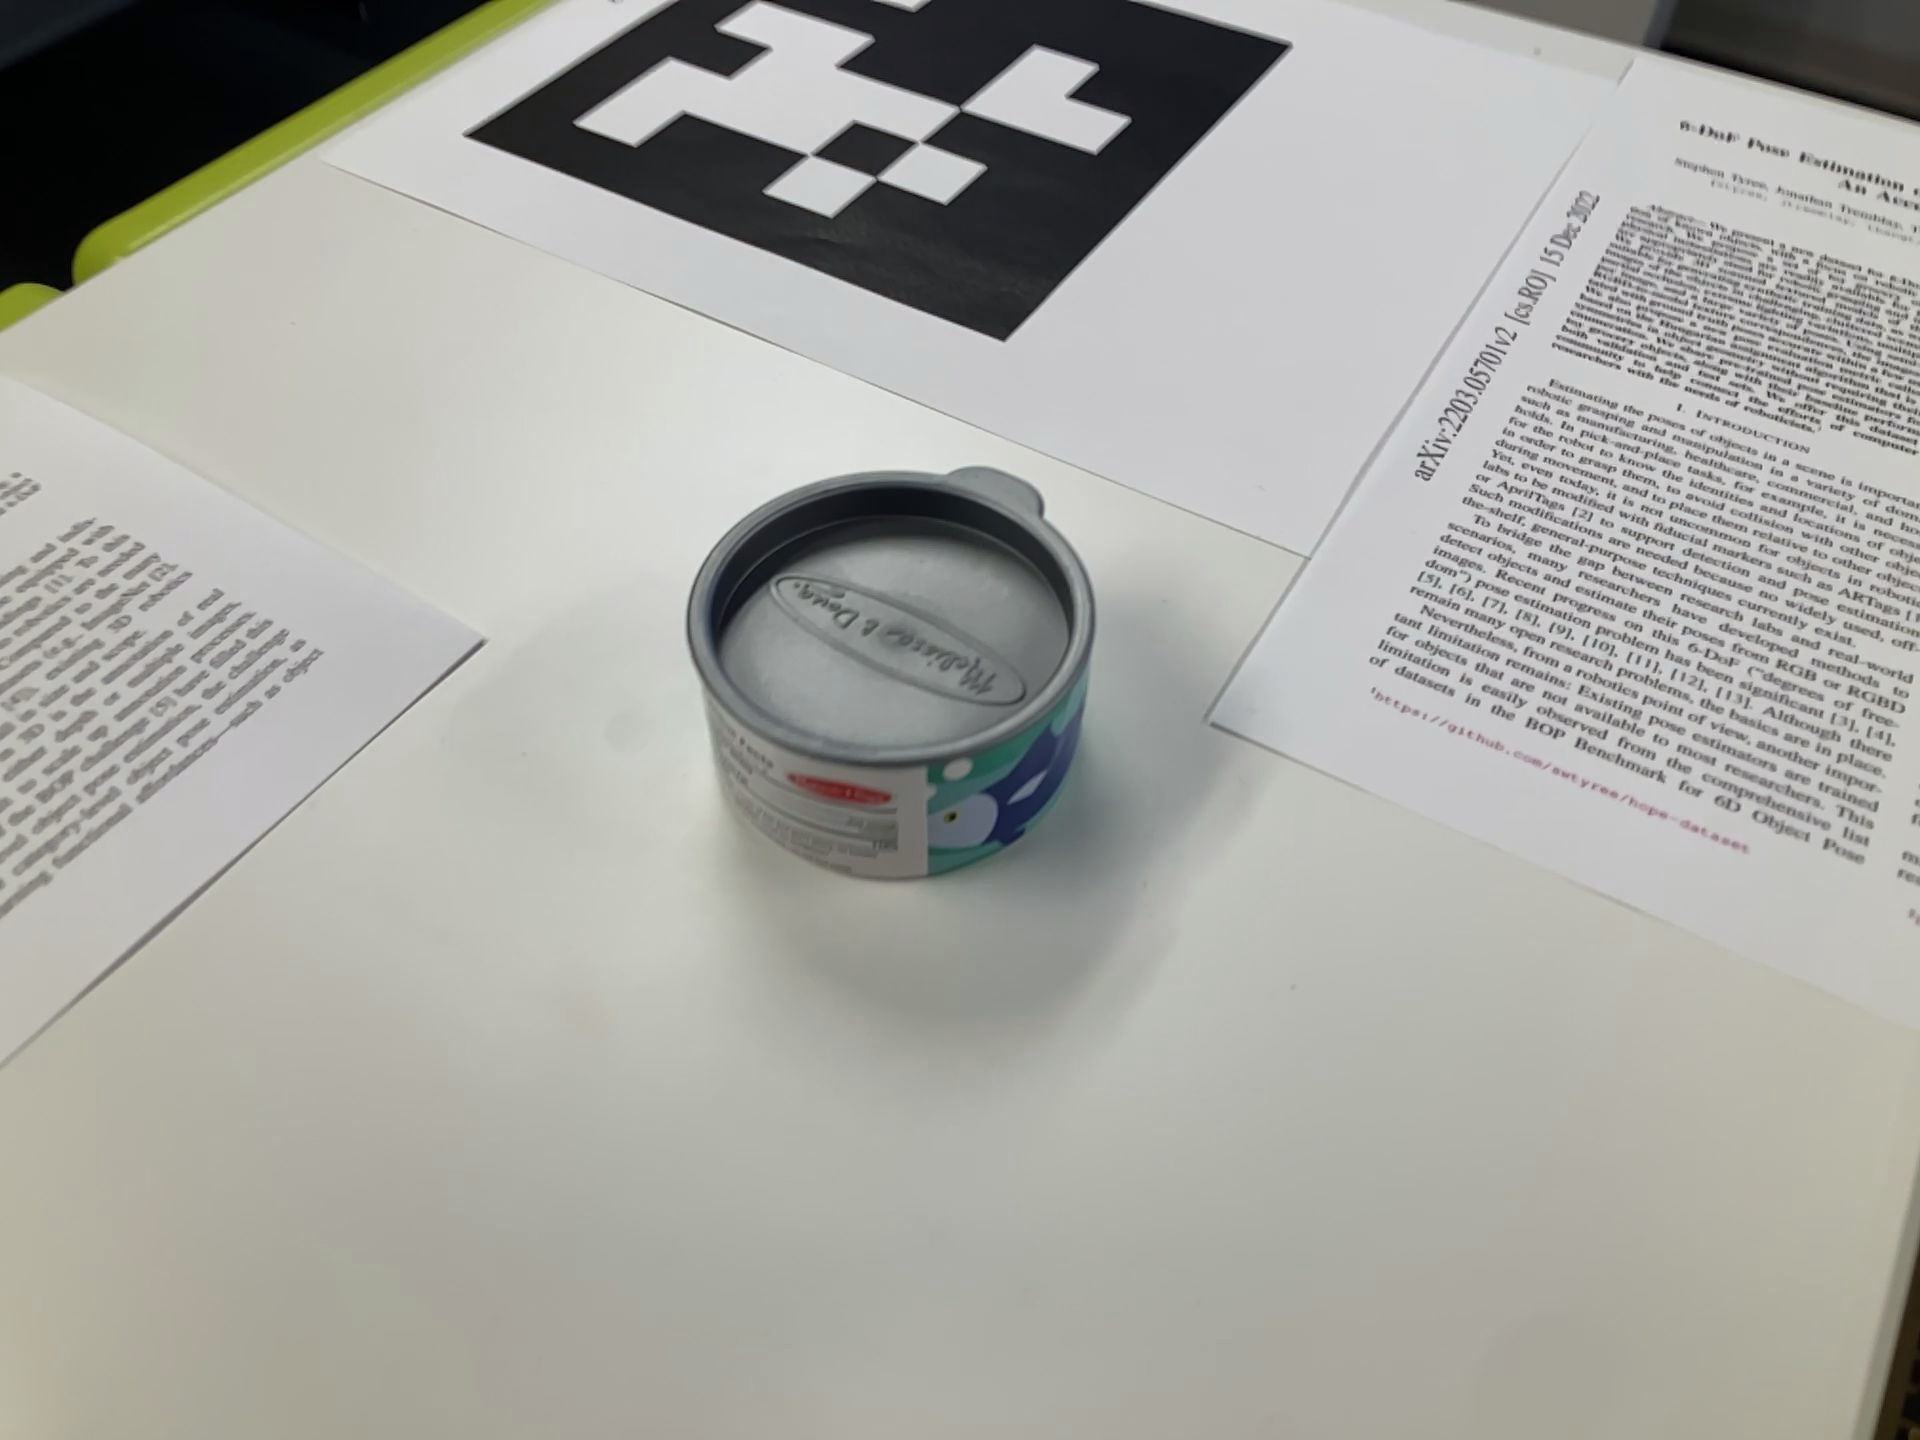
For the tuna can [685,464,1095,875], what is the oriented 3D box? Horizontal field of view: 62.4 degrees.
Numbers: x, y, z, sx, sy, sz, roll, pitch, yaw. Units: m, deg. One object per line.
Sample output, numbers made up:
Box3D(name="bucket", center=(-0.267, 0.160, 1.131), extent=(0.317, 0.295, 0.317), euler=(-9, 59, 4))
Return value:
Box3D(name="tuna can", center=(-0.010, -0.011, 0.269), extent=(0.071, 0.033, 0.071), euler=(0, 49, 0))
